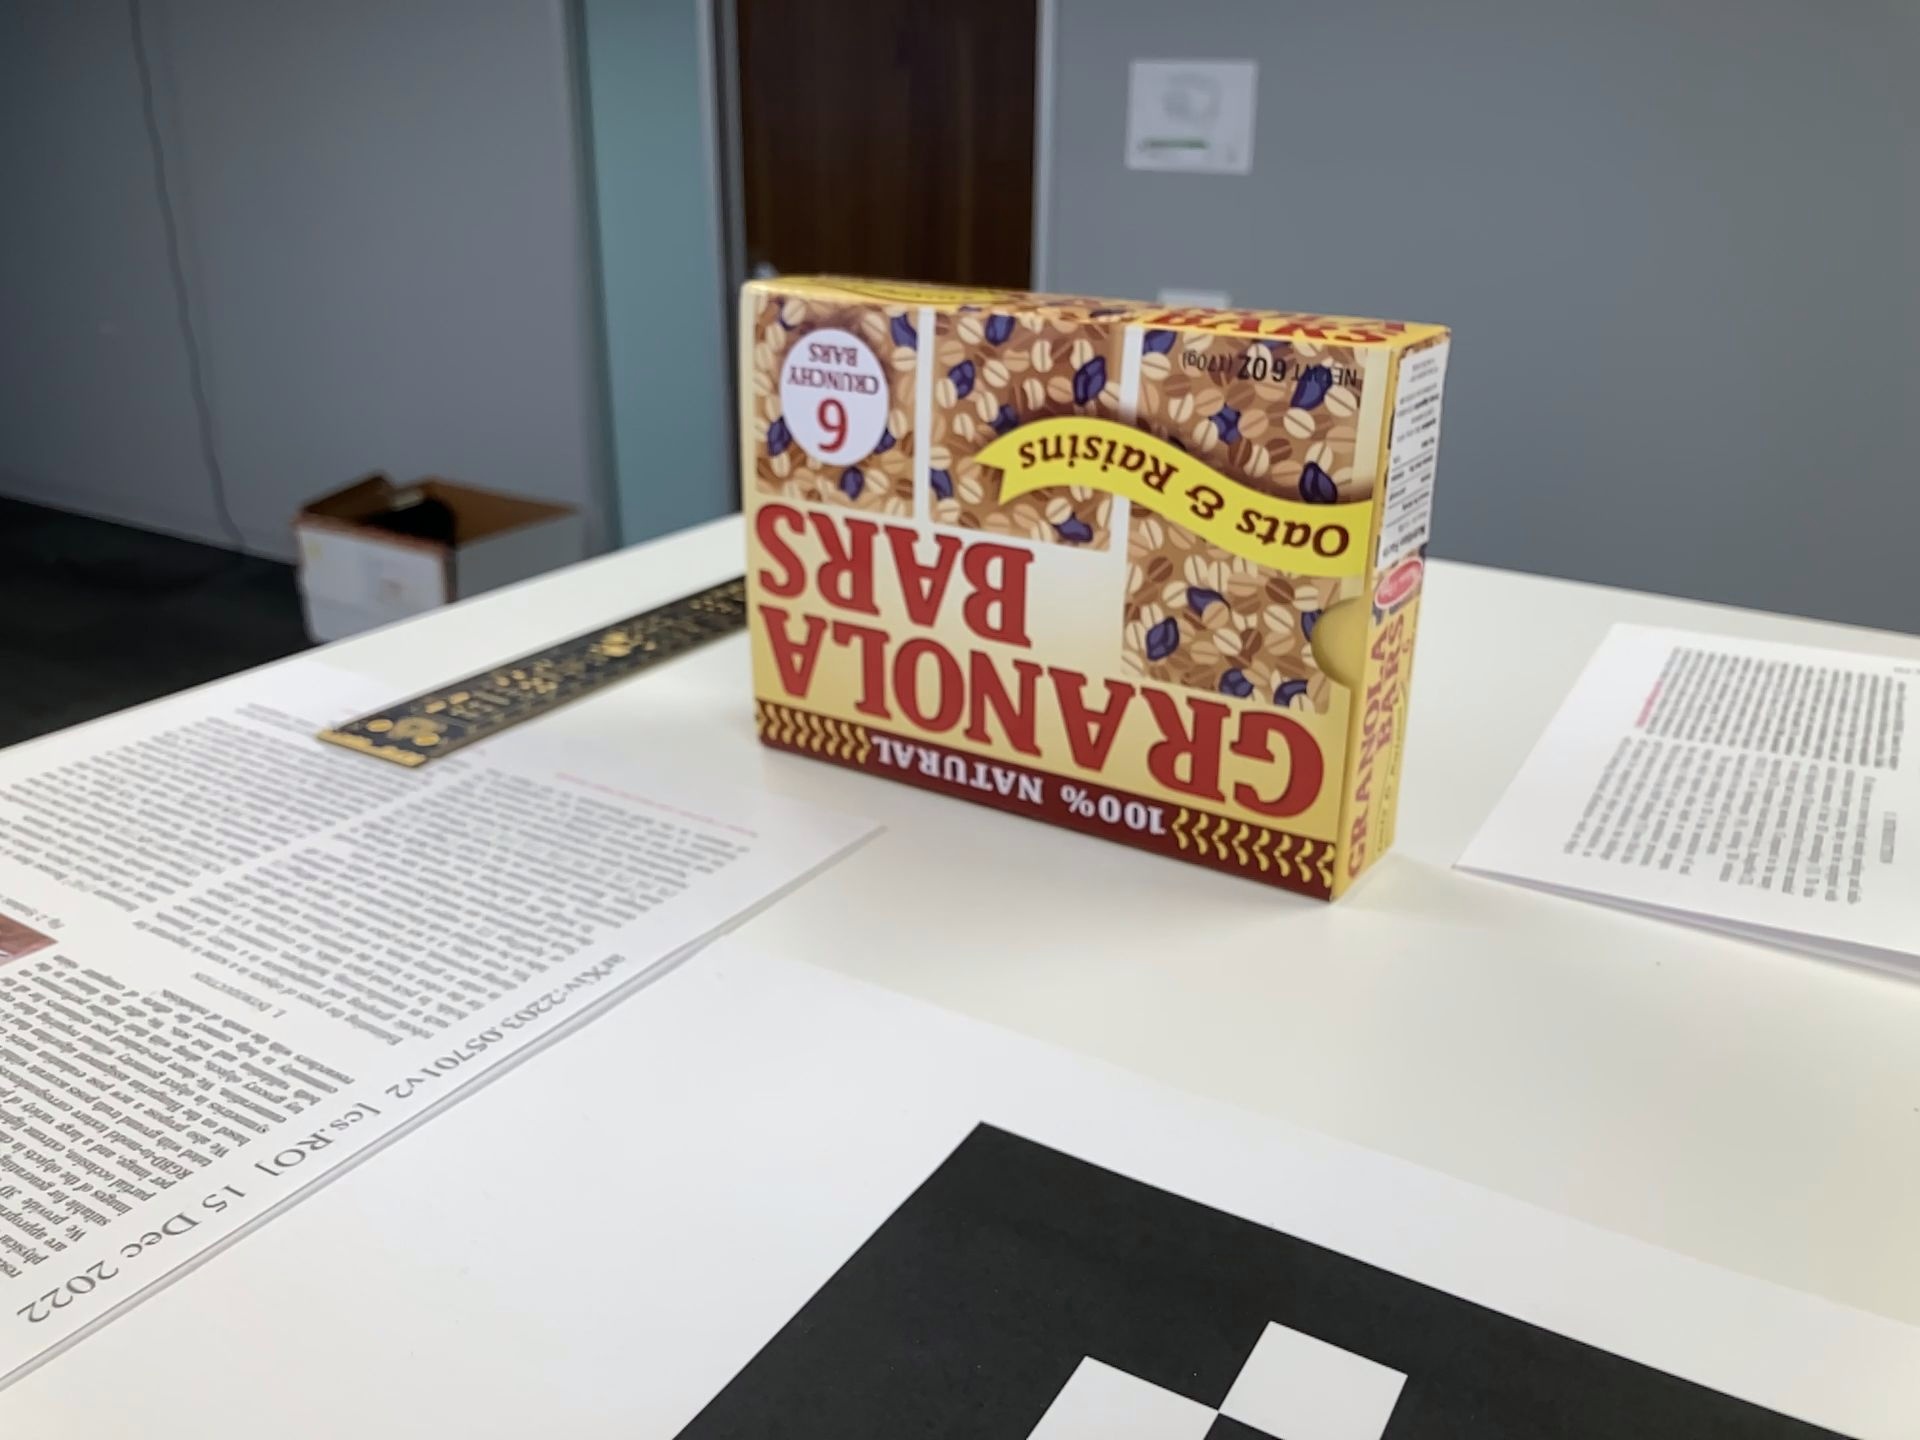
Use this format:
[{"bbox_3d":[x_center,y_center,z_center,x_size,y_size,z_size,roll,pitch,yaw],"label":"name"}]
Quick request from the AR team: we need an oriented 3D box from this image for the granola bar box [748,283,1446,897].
[{"bbox_3d":[0.024,-0.038,0.391,0.165,0.124,0.039,13,24,30],"label":"granola bar box"}]
